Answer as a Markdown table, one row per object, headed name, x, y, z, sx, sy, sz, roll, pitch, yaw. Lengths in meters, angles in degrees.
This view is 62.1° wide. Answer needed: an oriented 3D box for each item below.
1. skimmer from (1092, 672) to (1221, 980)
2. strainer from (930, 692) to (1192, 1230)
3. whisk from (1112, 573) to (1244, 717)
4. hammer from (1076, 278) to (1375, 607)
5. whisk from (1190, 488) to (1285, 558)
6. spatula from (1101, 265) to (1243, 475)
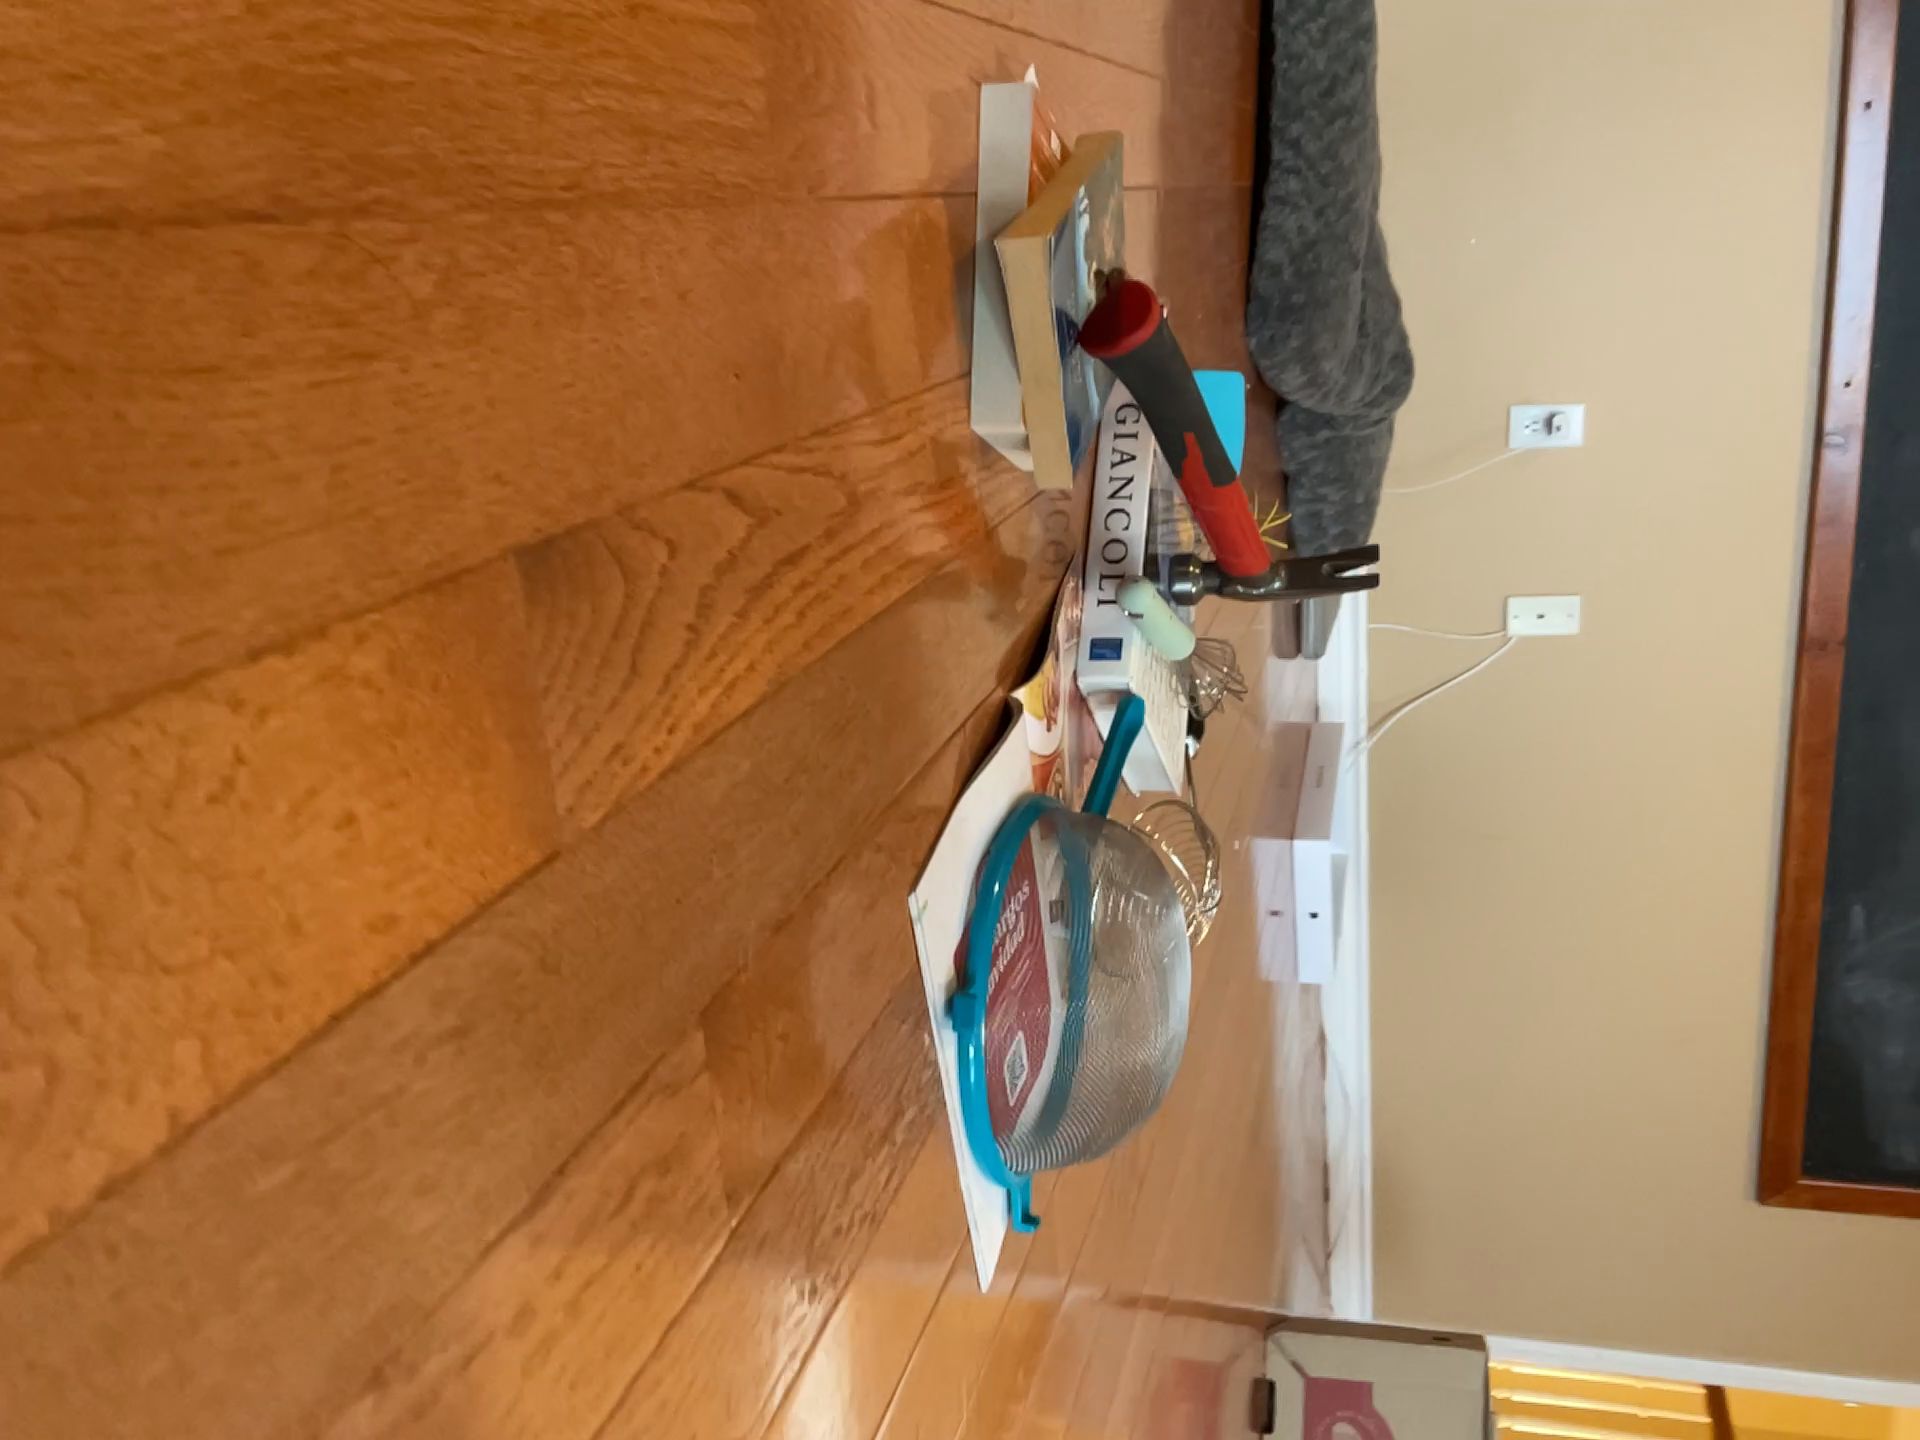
| name | x | y | z | sx | sy | sz | roll | pitch | yaw |
| --- | --- | --- | --- | --- | --- | --- | --- | --- | --- |
| skimmer | 0.143 | 0.053 | 1.197 | 0.364 | 0.090 | 0.127 | -81 | 162 | -61 |
| strainer | 0.091 | 0.103 | 0.887 | 0.341 | 0.095 | 0.210 | -63 | 149 | -42 |
| whisk | 0.144 | -0.050 | 1.056 | 0.059 | 0.058 | 0.246 | -57 | 154 | 0 |
| hammer | 0.159 | -0.151 | 0.954 | 0.386 | 0.143 | 0.038 | 40 | 49 | -65 |
| whisk | 0.217 | -0.162 | 1.322 | 0.312 | 0.067 | 0.080 | -77 | 149 | -78 |
| spatula | 0.138 | -0.226 | 1.014 | 0.317 | 0.044 | 0.082 | 19 | 75 | -72 |
